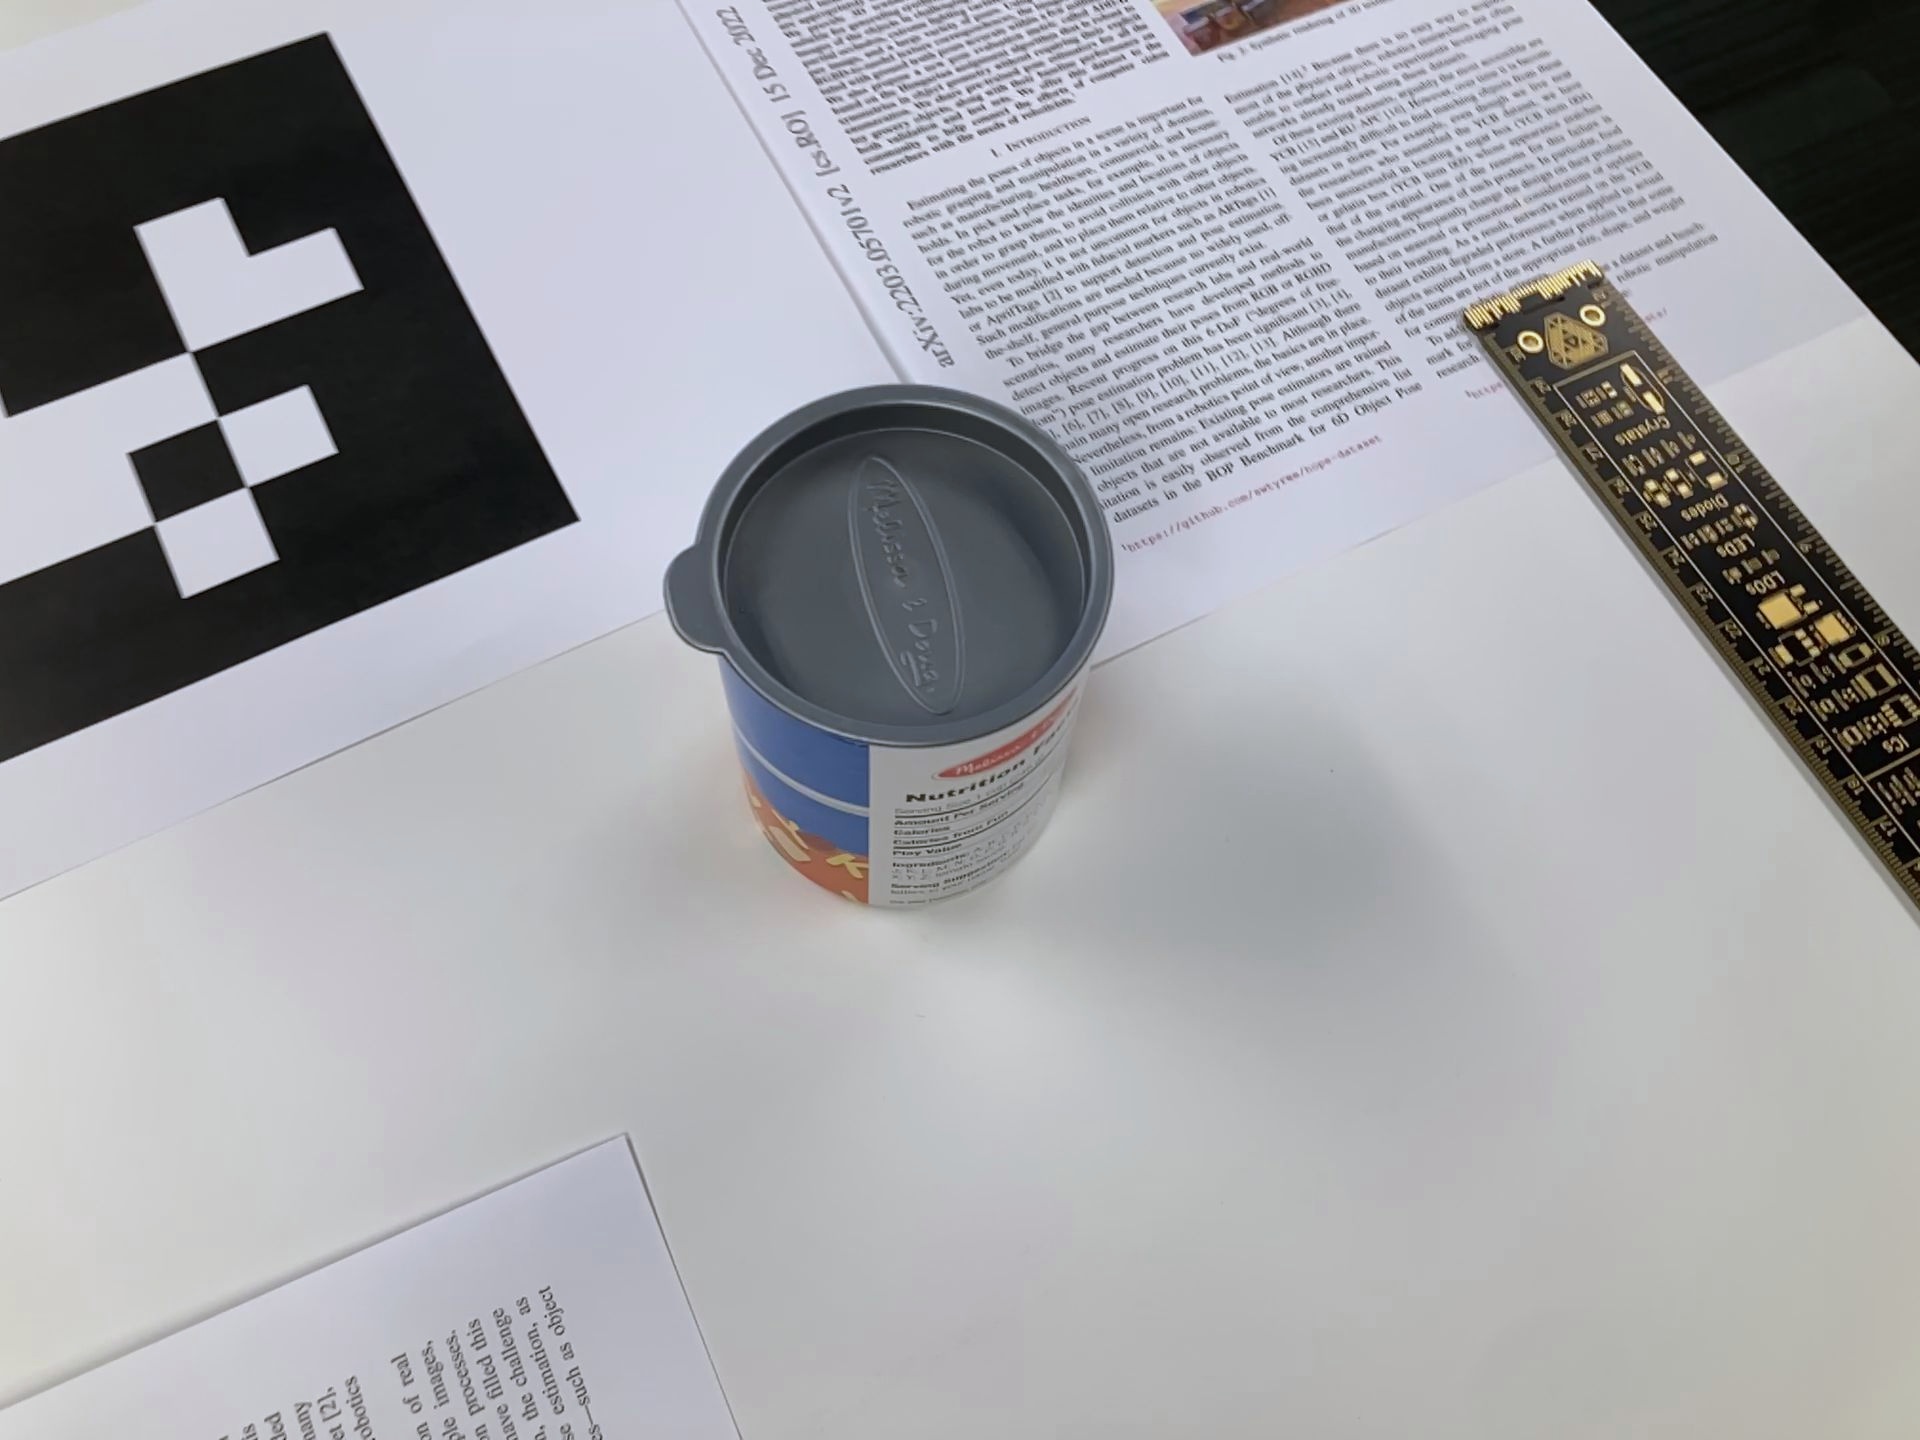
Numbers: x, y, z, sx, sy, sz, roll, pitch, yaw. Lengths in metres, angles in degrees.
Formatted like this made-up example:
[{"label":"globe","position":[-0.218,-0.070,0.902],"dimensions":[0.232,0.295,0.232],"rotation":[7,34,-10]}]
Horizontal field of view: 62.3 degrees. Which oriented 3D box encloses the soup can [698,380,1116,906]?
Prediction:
[{"label":"soup can","position":[-0.012,-0.012,0.290],"dimensions":[0.071,0.084,0.071],"rotation":[1,65,-3]}]
